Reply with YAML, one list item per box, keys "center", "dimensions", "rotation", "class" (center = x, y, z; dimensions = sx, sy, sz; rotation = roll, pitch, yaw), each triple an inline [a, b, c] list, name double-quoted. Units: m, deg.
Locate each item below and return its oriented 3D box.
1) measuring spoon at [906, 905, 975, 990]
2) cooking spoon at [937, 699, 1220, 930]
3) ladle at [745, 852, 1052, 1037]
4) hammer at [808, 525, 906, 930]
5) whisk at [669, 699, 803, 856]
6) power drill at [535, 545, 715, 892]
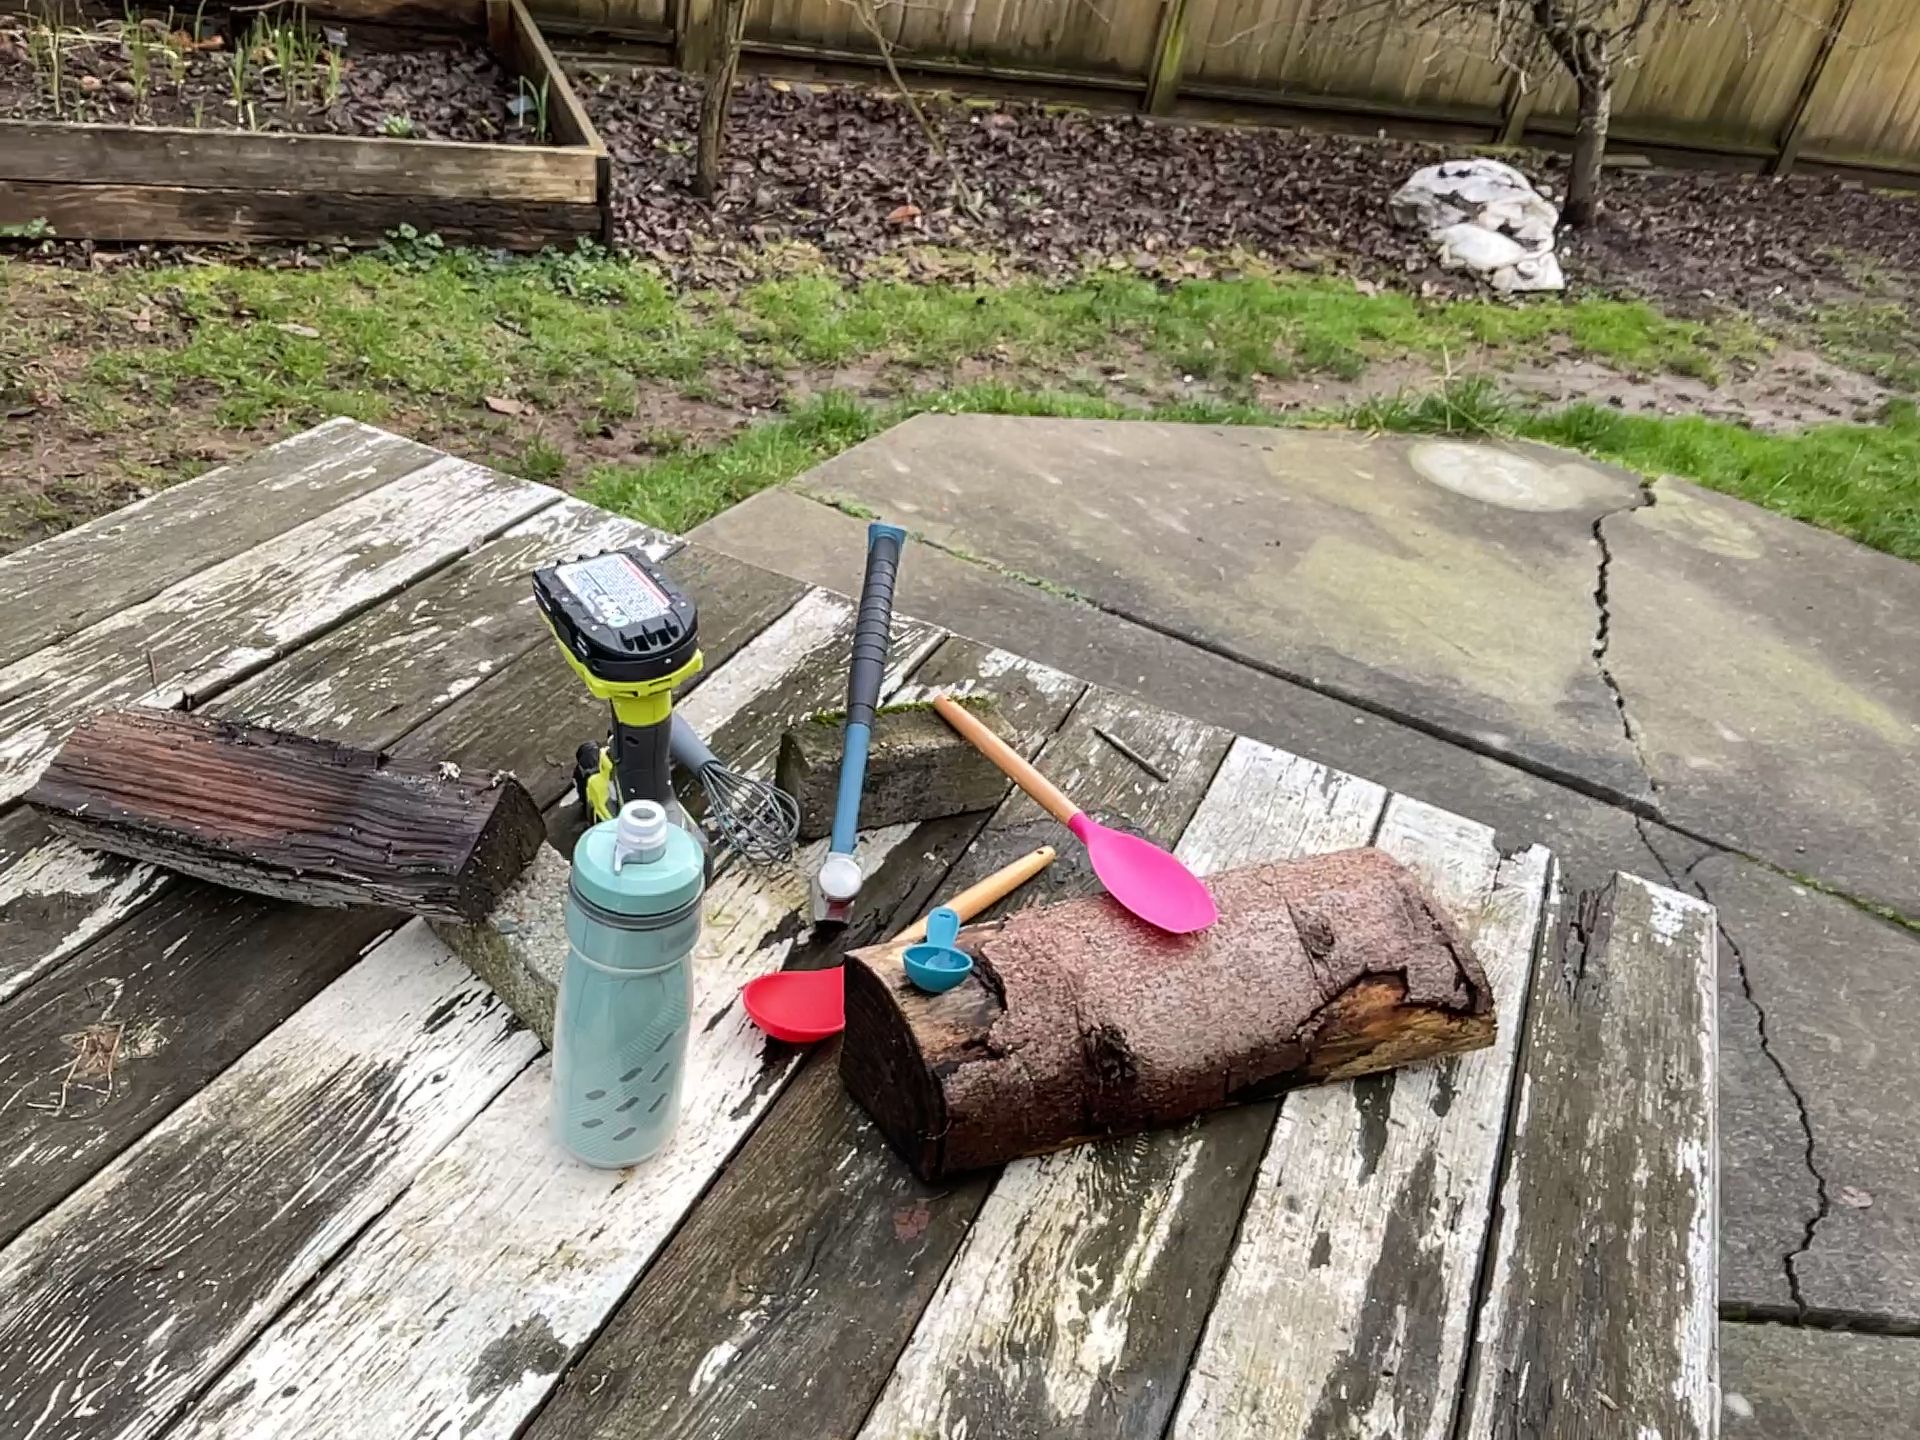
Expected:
- center: [-0.013, 0.143, 0.999]
  dimensions: [0.042, 0.021, 0.129]
  rotation: [10, 10, -1]
  class: "measuring spoon"
- center: [0.072, 0.062, 1.148]
  dimensions: [0.068, 0.017, 0.319]
  rotation: [-12, 34, -31]
  class: "cooking spoon"
- center: [-0.030, 0.152, 1.126]
  dimensions: [0.069, 0.031, 0.315]
  rotation: [28, 33, 30]
  class: "ladle"
- center: [-0.073, -0.004, 1.171]
  dimensions: [0.033, 0.128, 0.331]
  rotation: [10, 63, -6]
  class: "hammer"
- center: [-0.193, 0.033, 1.233]
  dimensions: [0.055, 0.055, 0.239]
  rotation: [-5, 31, -38]
  class: "whisk"
- center: [-0.236, 0.000, 1.117]
  dimensions: [0.080, 0.223, 0.171]
  rotation: [-19, 41, -28]
  class: "power drill"
